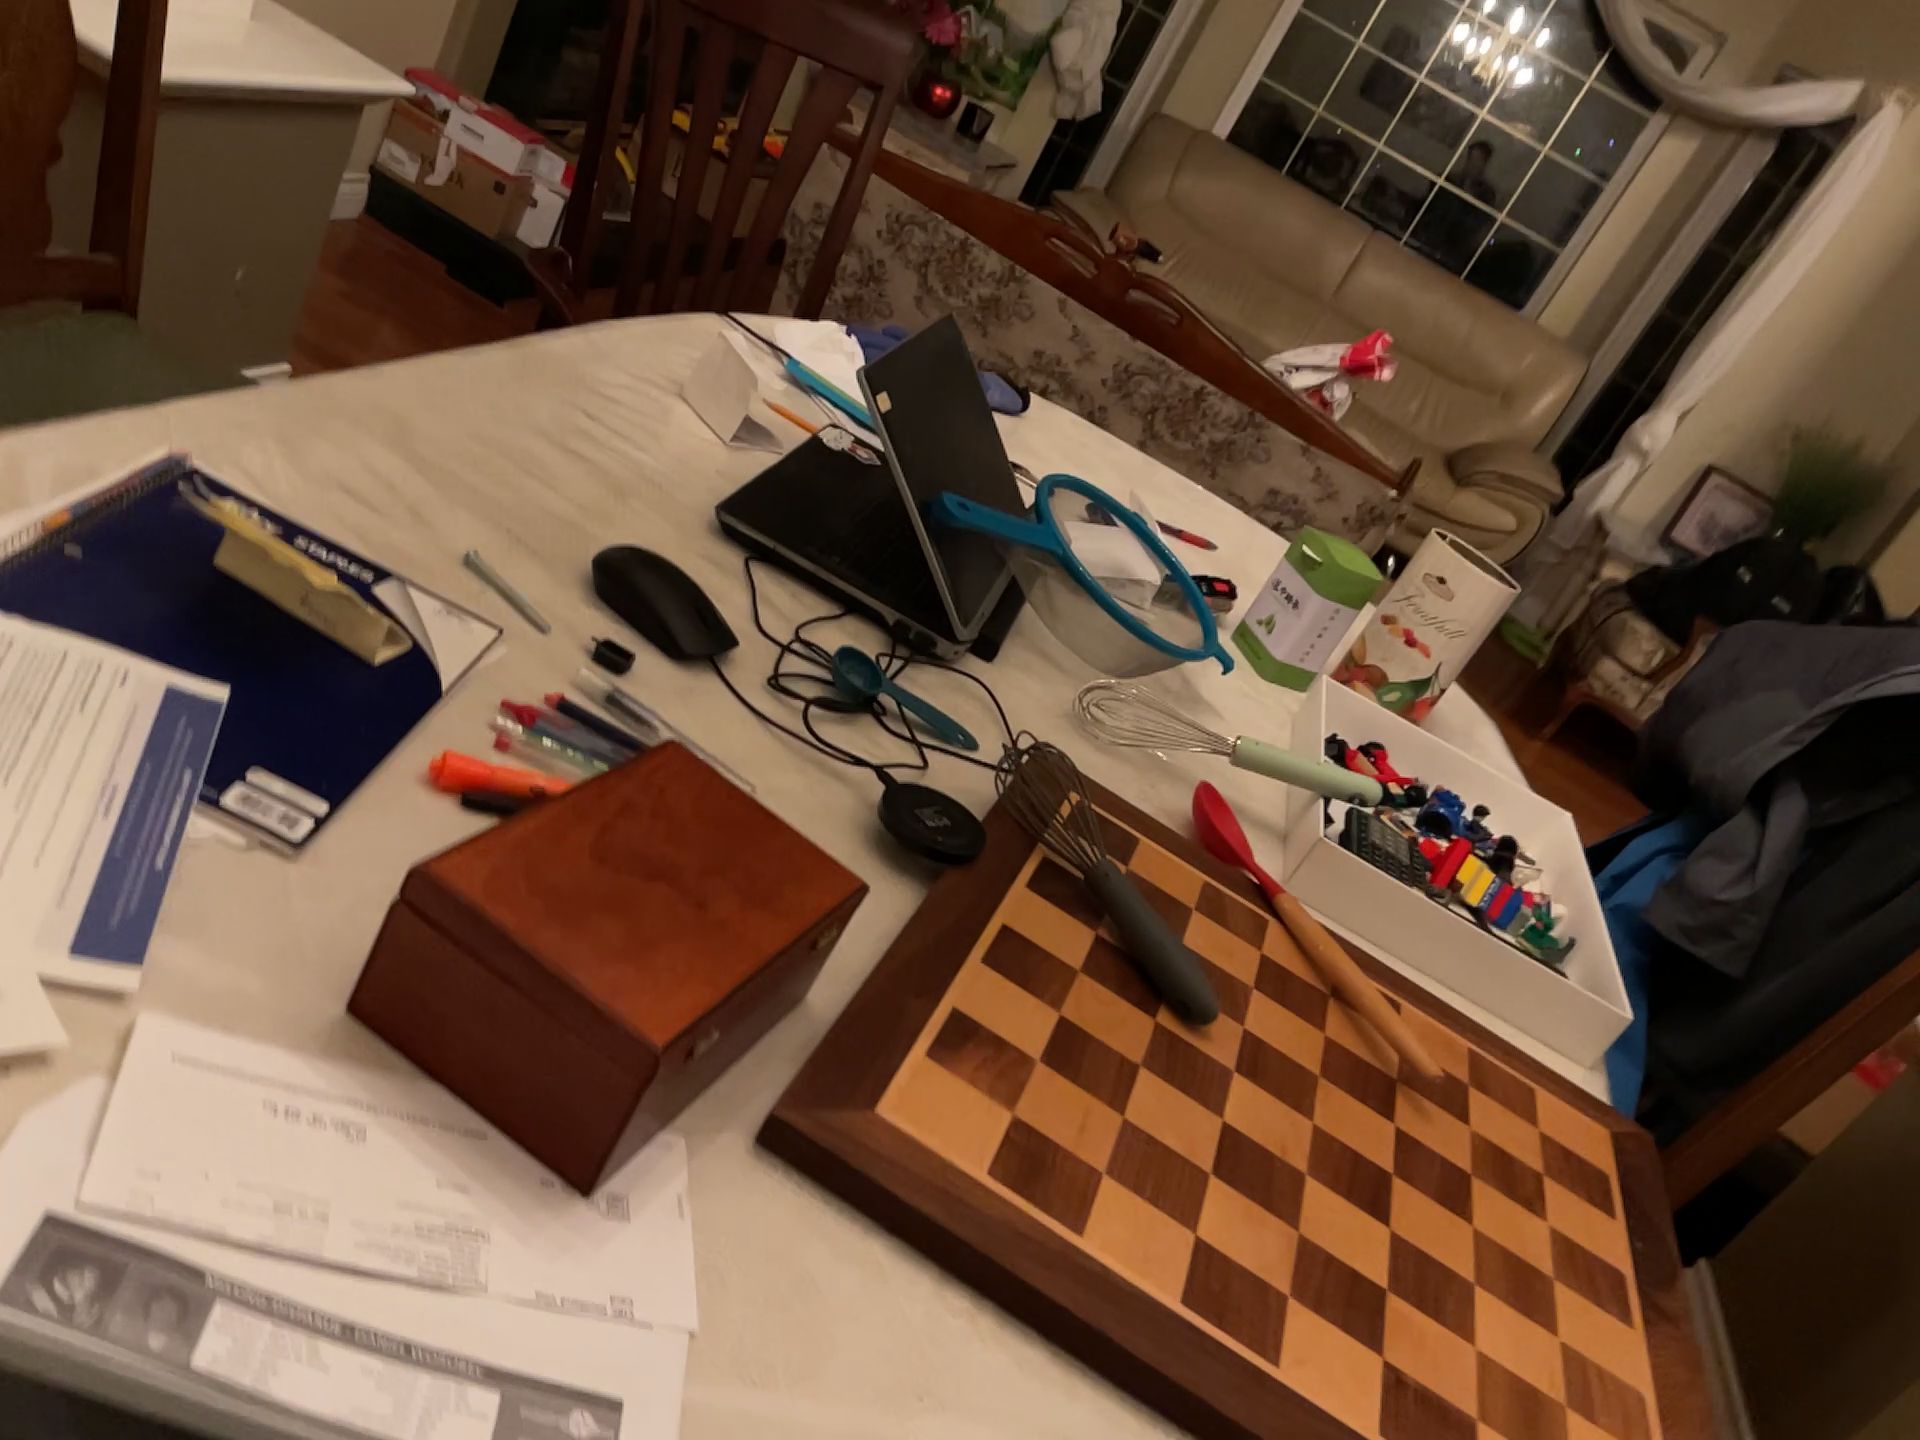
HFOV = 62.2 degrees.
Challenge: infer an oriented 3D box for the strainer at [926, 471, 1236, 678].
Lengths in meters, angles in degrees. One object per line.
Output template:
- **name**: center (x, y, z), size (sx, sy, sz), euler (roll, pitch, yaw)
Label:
- **strainer**: center (0.074, -0.116, 1.323), size (0.340, 0.095, 0.211), euler (11, 43, -46)

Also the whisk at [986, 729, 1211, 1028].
- **whisk**: center (0.083, 0.094, 0.973), size (0.055, 0.055, 0.239), euler (-6, 45, -32)

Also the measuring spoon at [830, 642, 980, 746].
- **measuring spoon**: center (-0.041, -0.010, 1.103), size (0.128, 0.021, 0.042), euler (33, 29, -25)

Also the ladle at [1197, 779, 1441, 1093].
- **ladle**: center (0.232, 0.138, 1.067), size (0.069, 0.031, 0.316), euler (41, 10, -35)

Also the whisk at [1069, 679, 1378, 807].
- **whisk**: center (0.203, 0.020, 1.229), size (0.246, 0.057, 0.059), euler (18, 54, 7)
